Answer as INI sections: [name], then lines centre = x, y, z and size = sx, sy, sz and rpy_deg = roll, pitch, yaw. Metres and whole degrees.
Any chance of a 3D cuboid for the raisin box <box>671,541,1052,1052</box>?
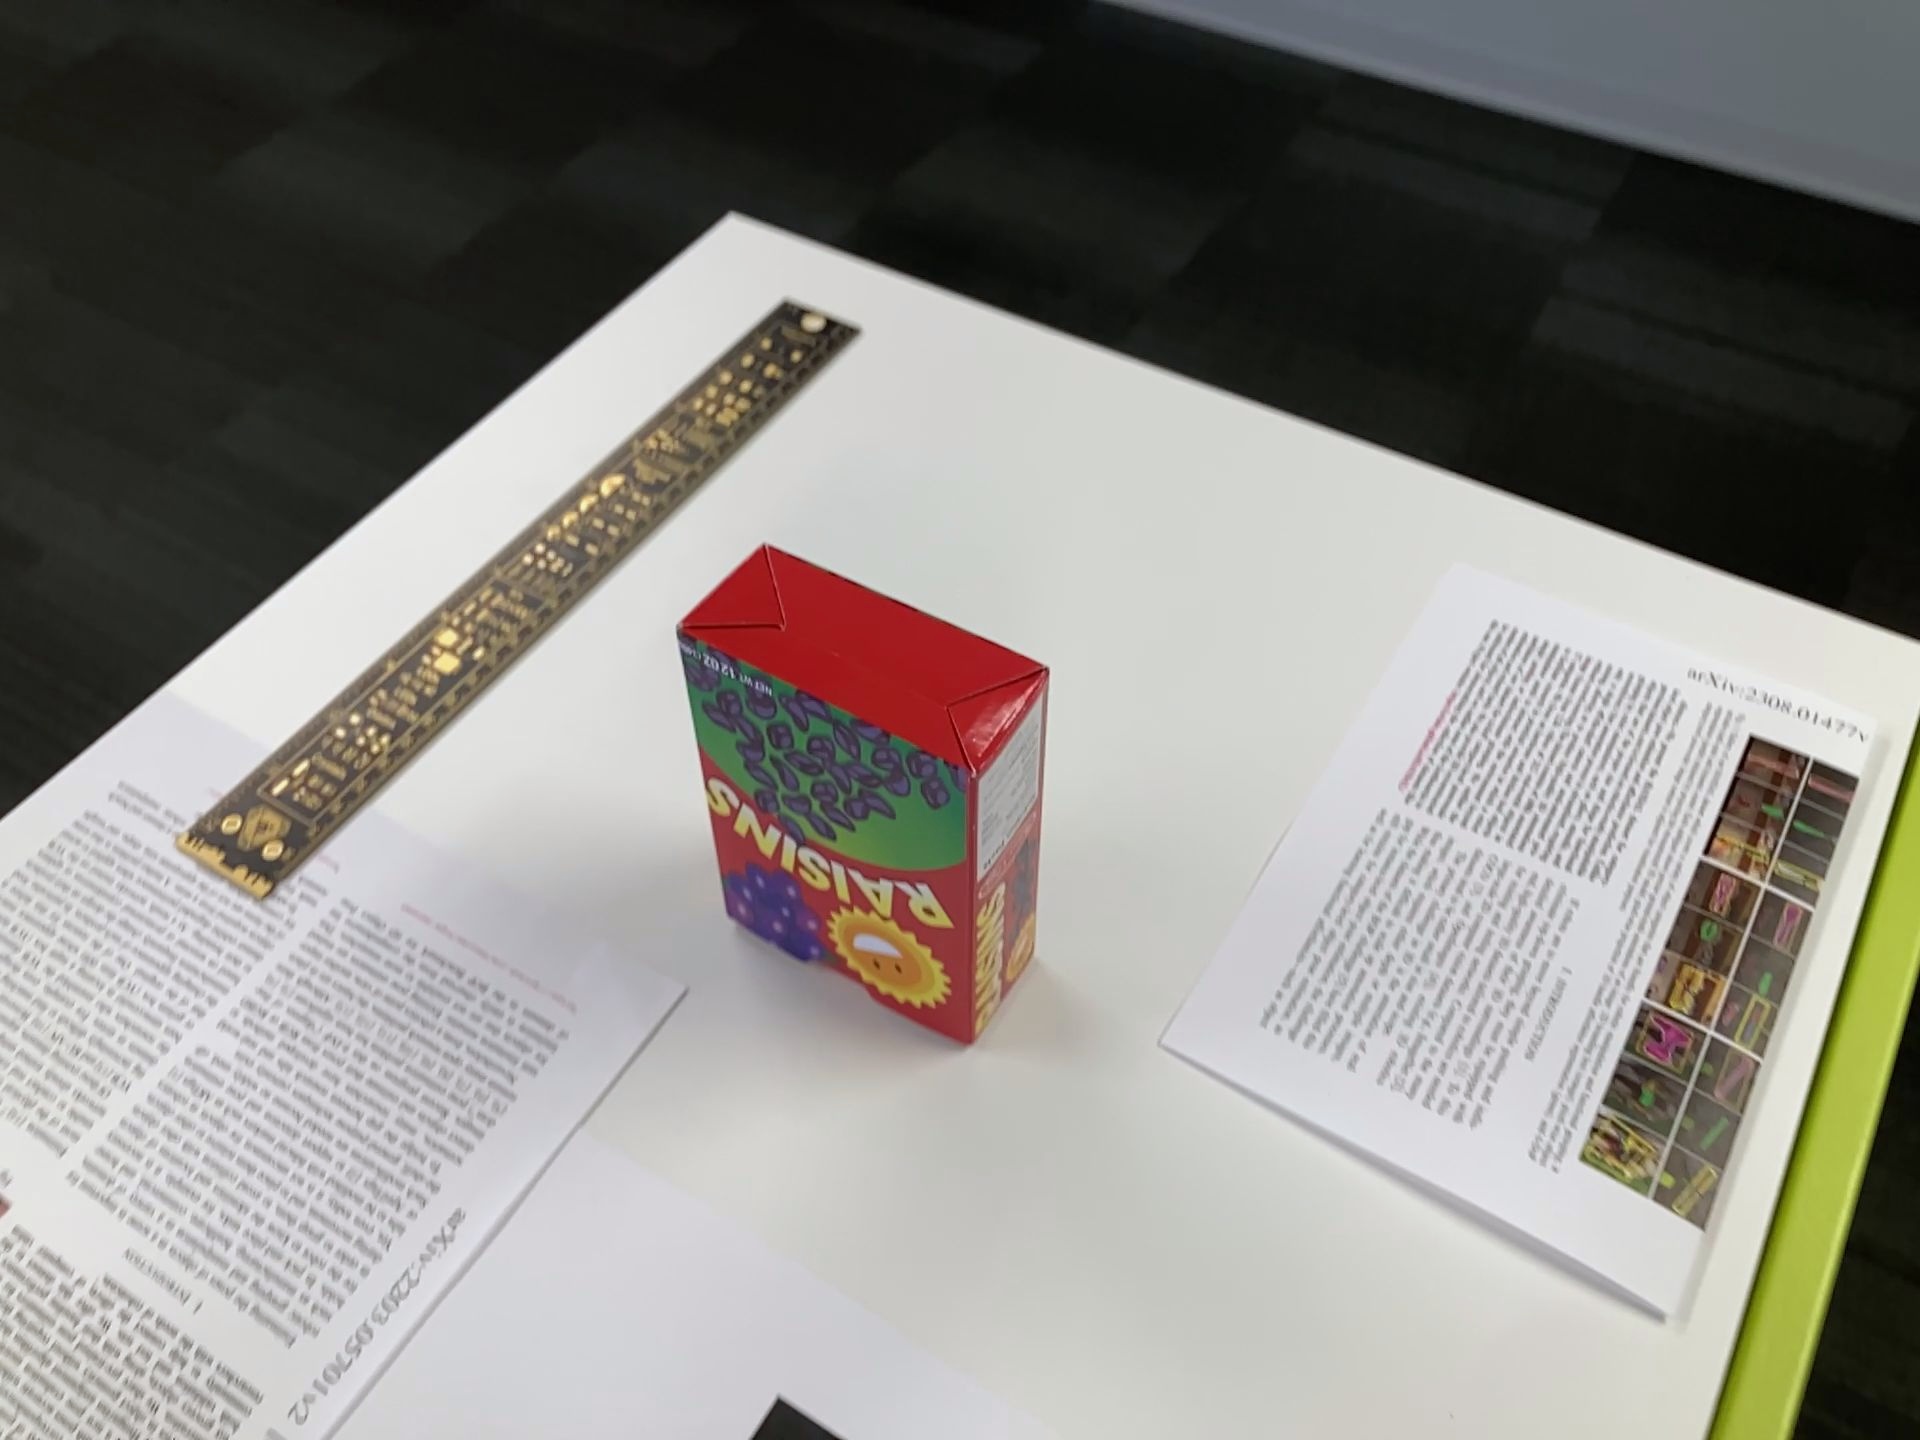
[raisin box]
centre = -0.023, 0.024, 0.412
size = 0.086, 0.123, 0.040
rpy_deg = 24, 54, 19
